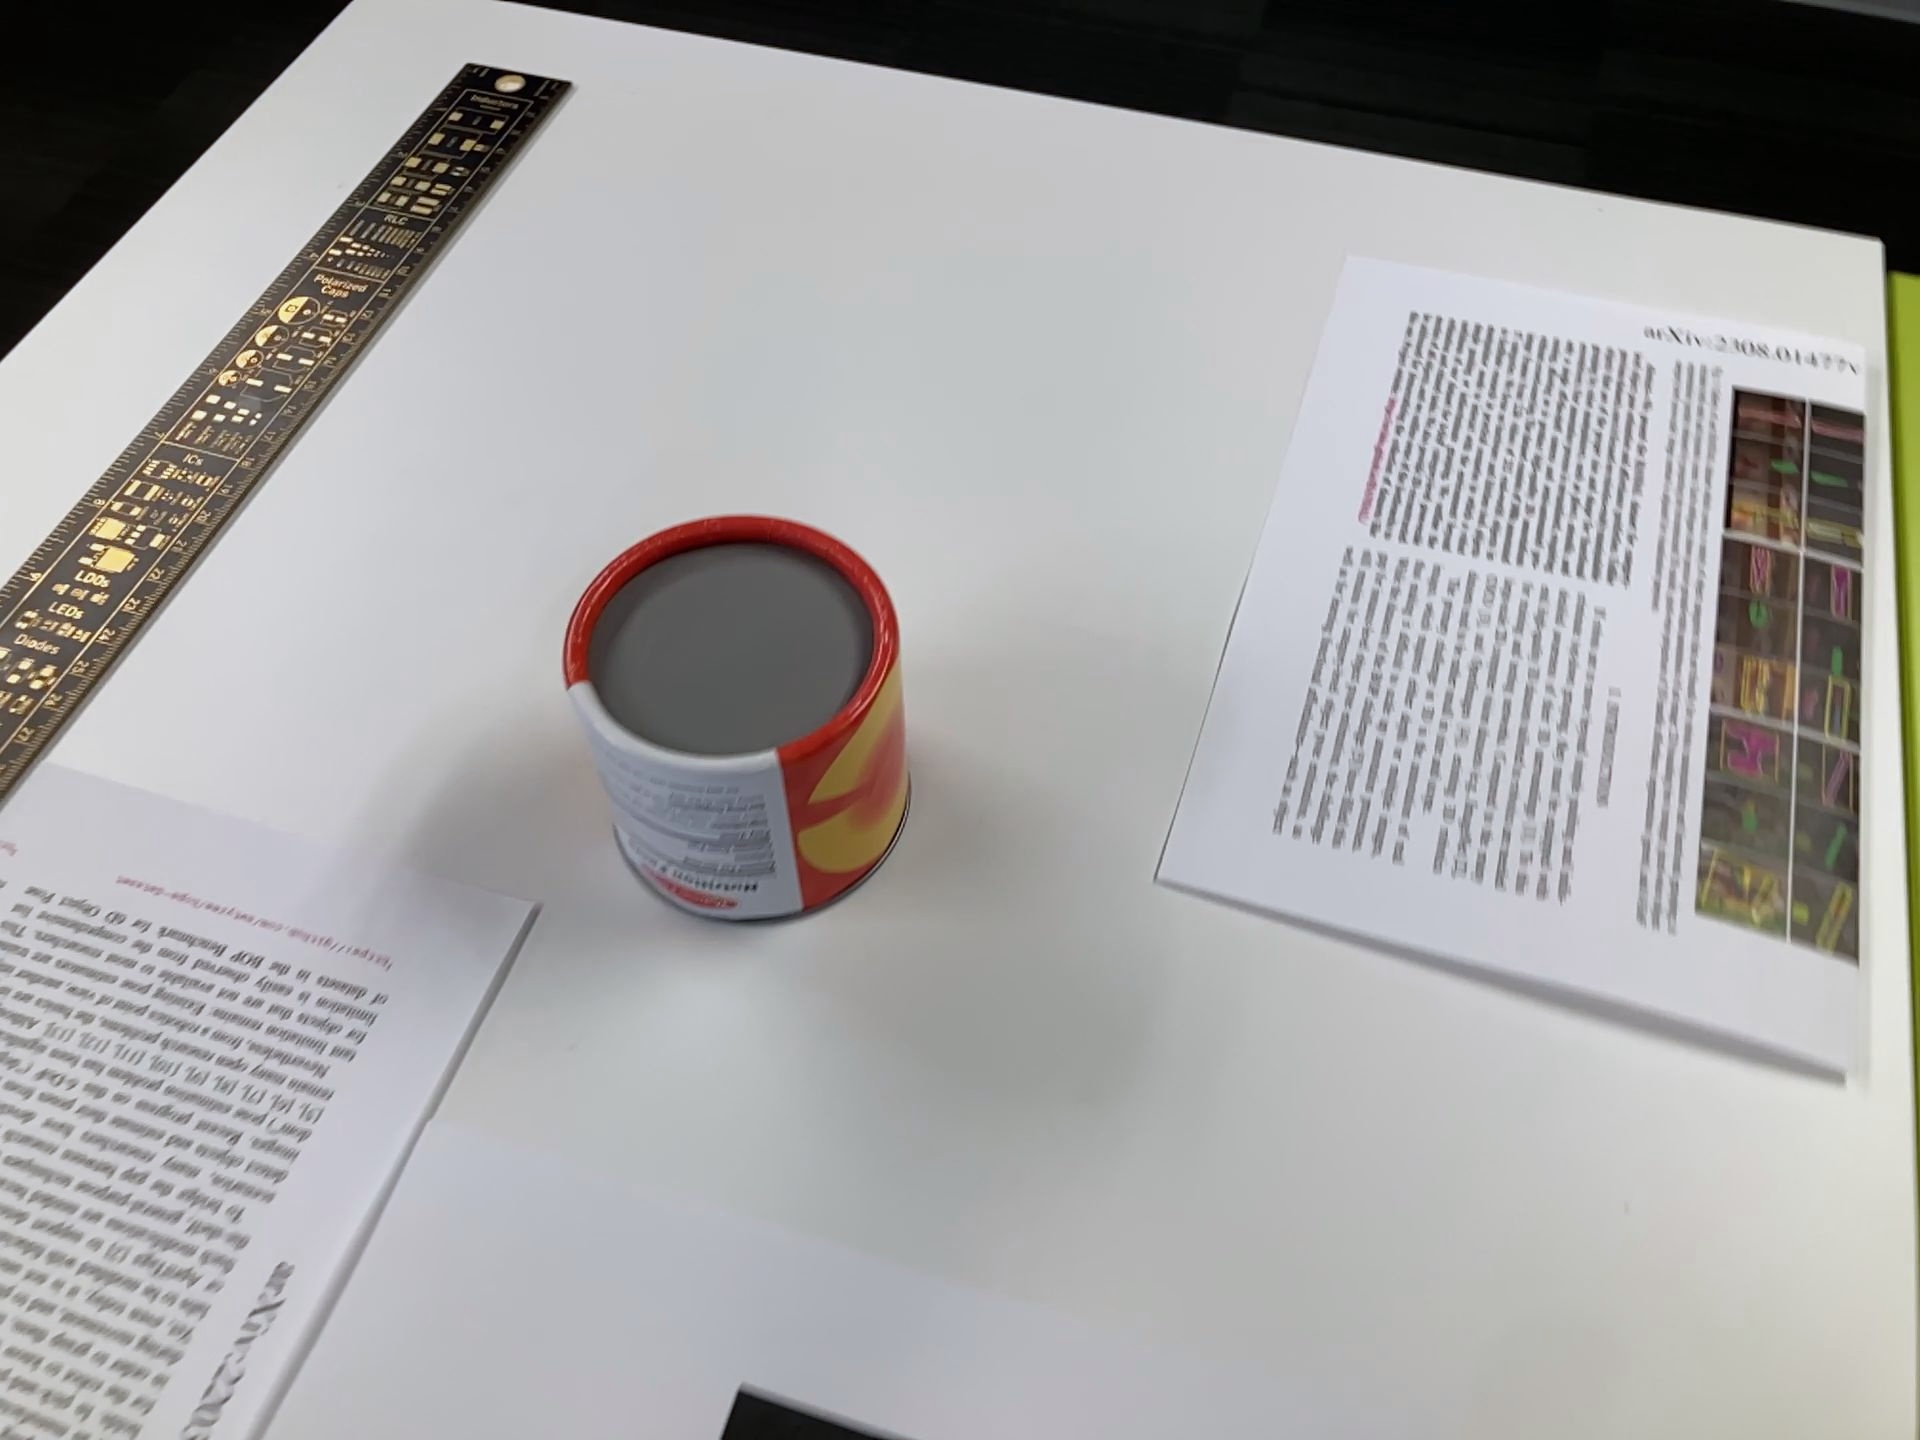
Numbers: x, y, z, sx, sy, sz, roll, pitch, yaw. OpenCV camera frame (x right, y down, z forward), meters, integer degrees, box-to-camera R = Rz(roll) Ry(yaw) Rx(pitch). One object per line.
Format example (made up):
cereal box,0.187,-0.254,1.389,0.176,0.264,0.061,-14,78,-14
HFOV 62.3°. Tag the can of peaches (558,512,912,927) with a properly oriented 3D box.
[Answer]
can of peaches,-0.044,-0.002,0.328,0.071,0.058,0.071,-1,55,1
